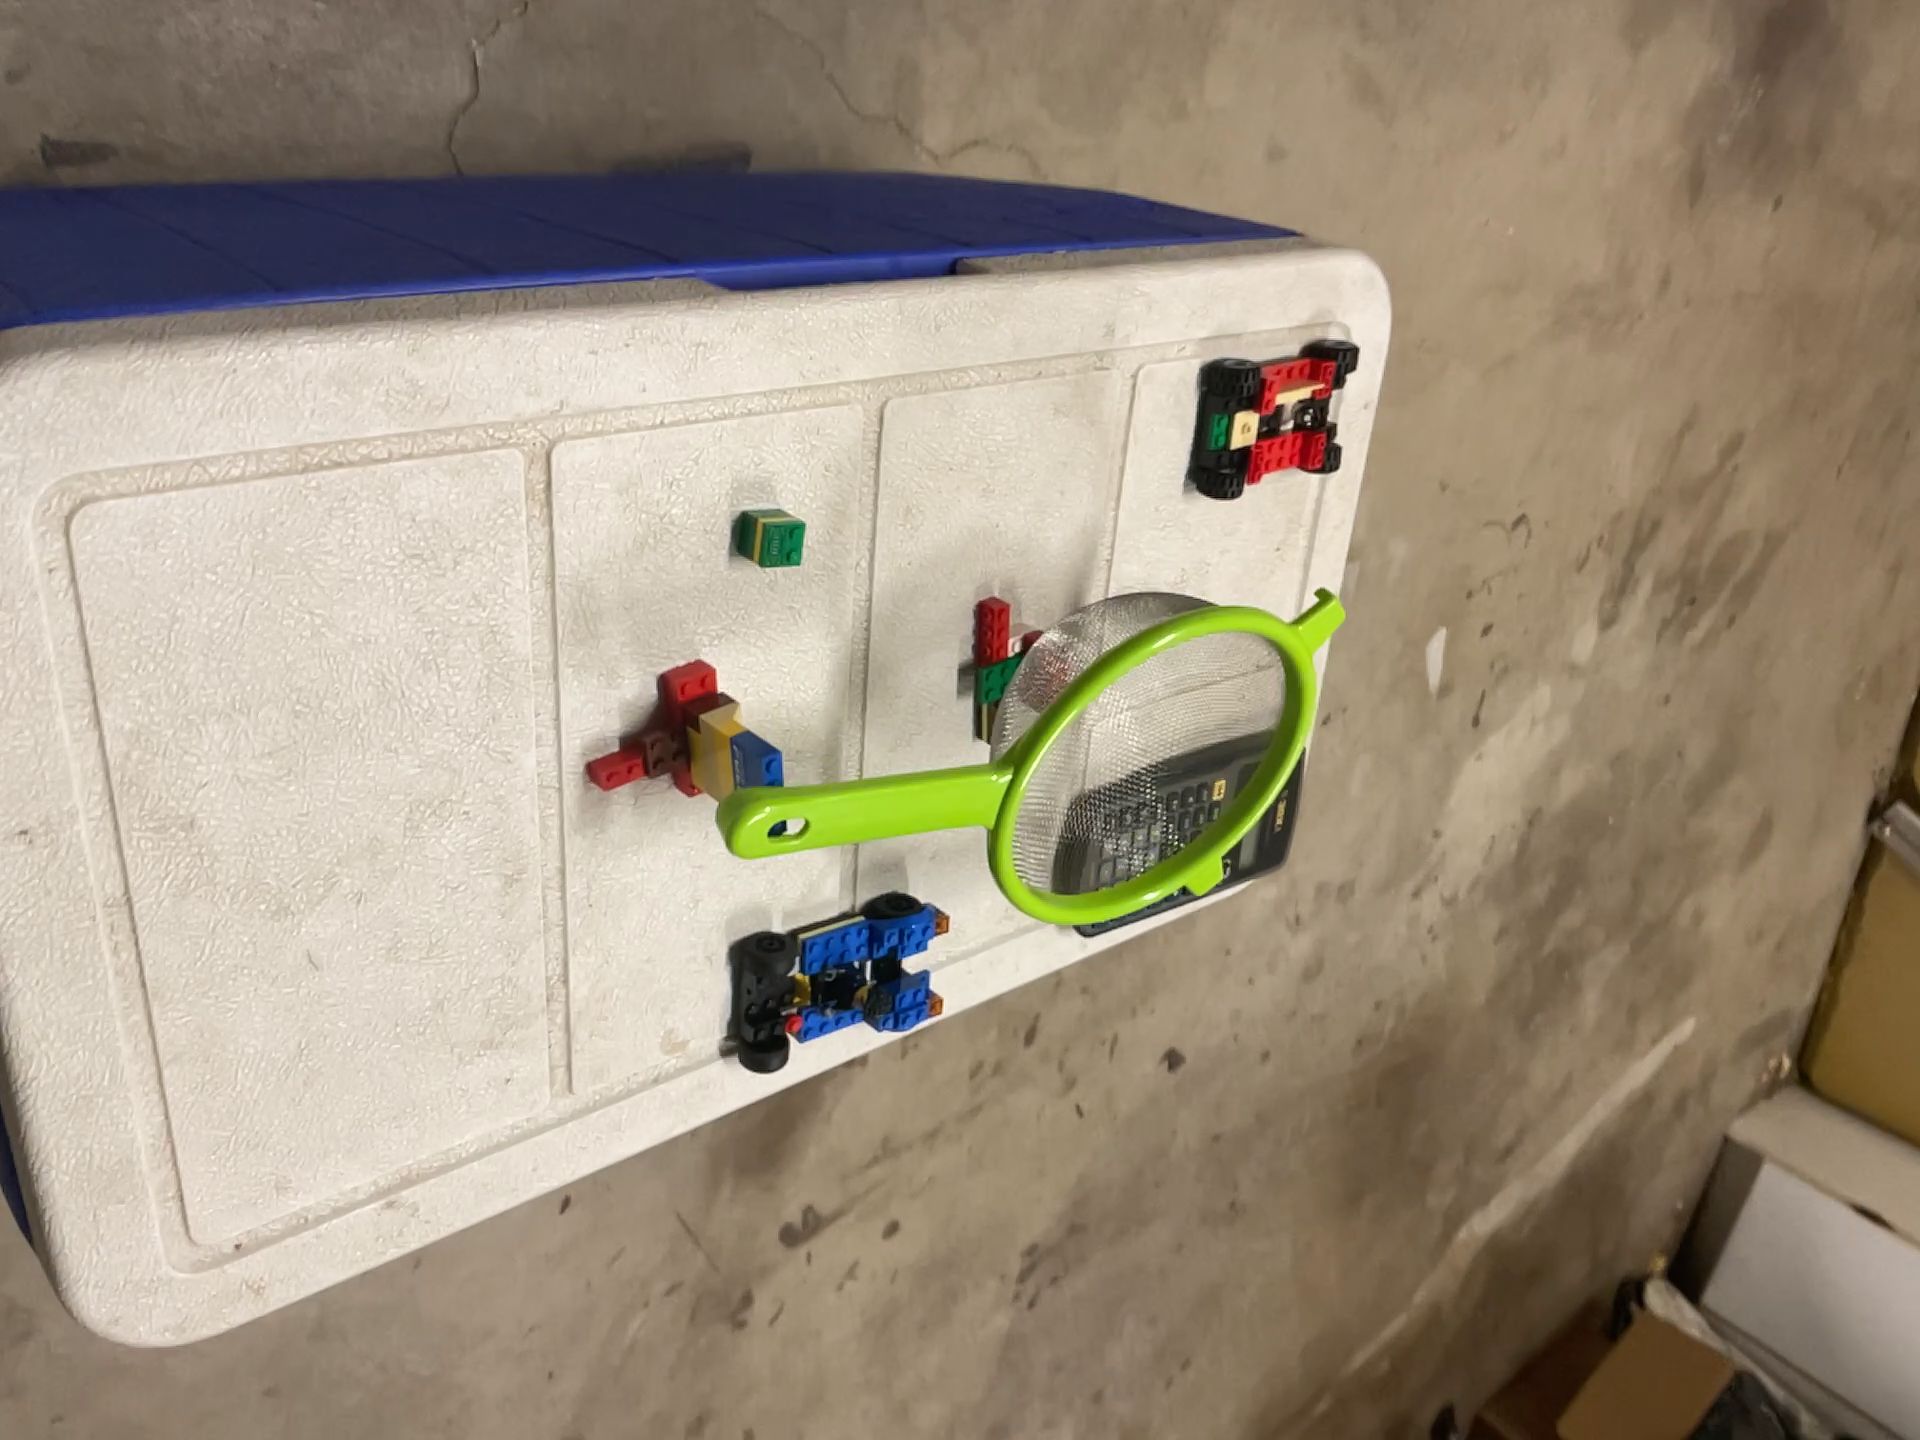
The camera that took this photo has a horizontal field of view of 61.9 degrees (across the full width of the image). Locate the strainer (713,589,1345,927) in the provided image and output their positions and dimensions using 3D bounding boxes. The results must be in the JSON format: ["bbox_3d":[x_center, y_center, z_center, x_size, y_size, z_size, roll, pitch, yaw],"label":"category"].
[{"bbox_3d":[0.018,0.010,0.605,0.256,0.069,0.151,-6,130,-33],"label":"strainer"}]
